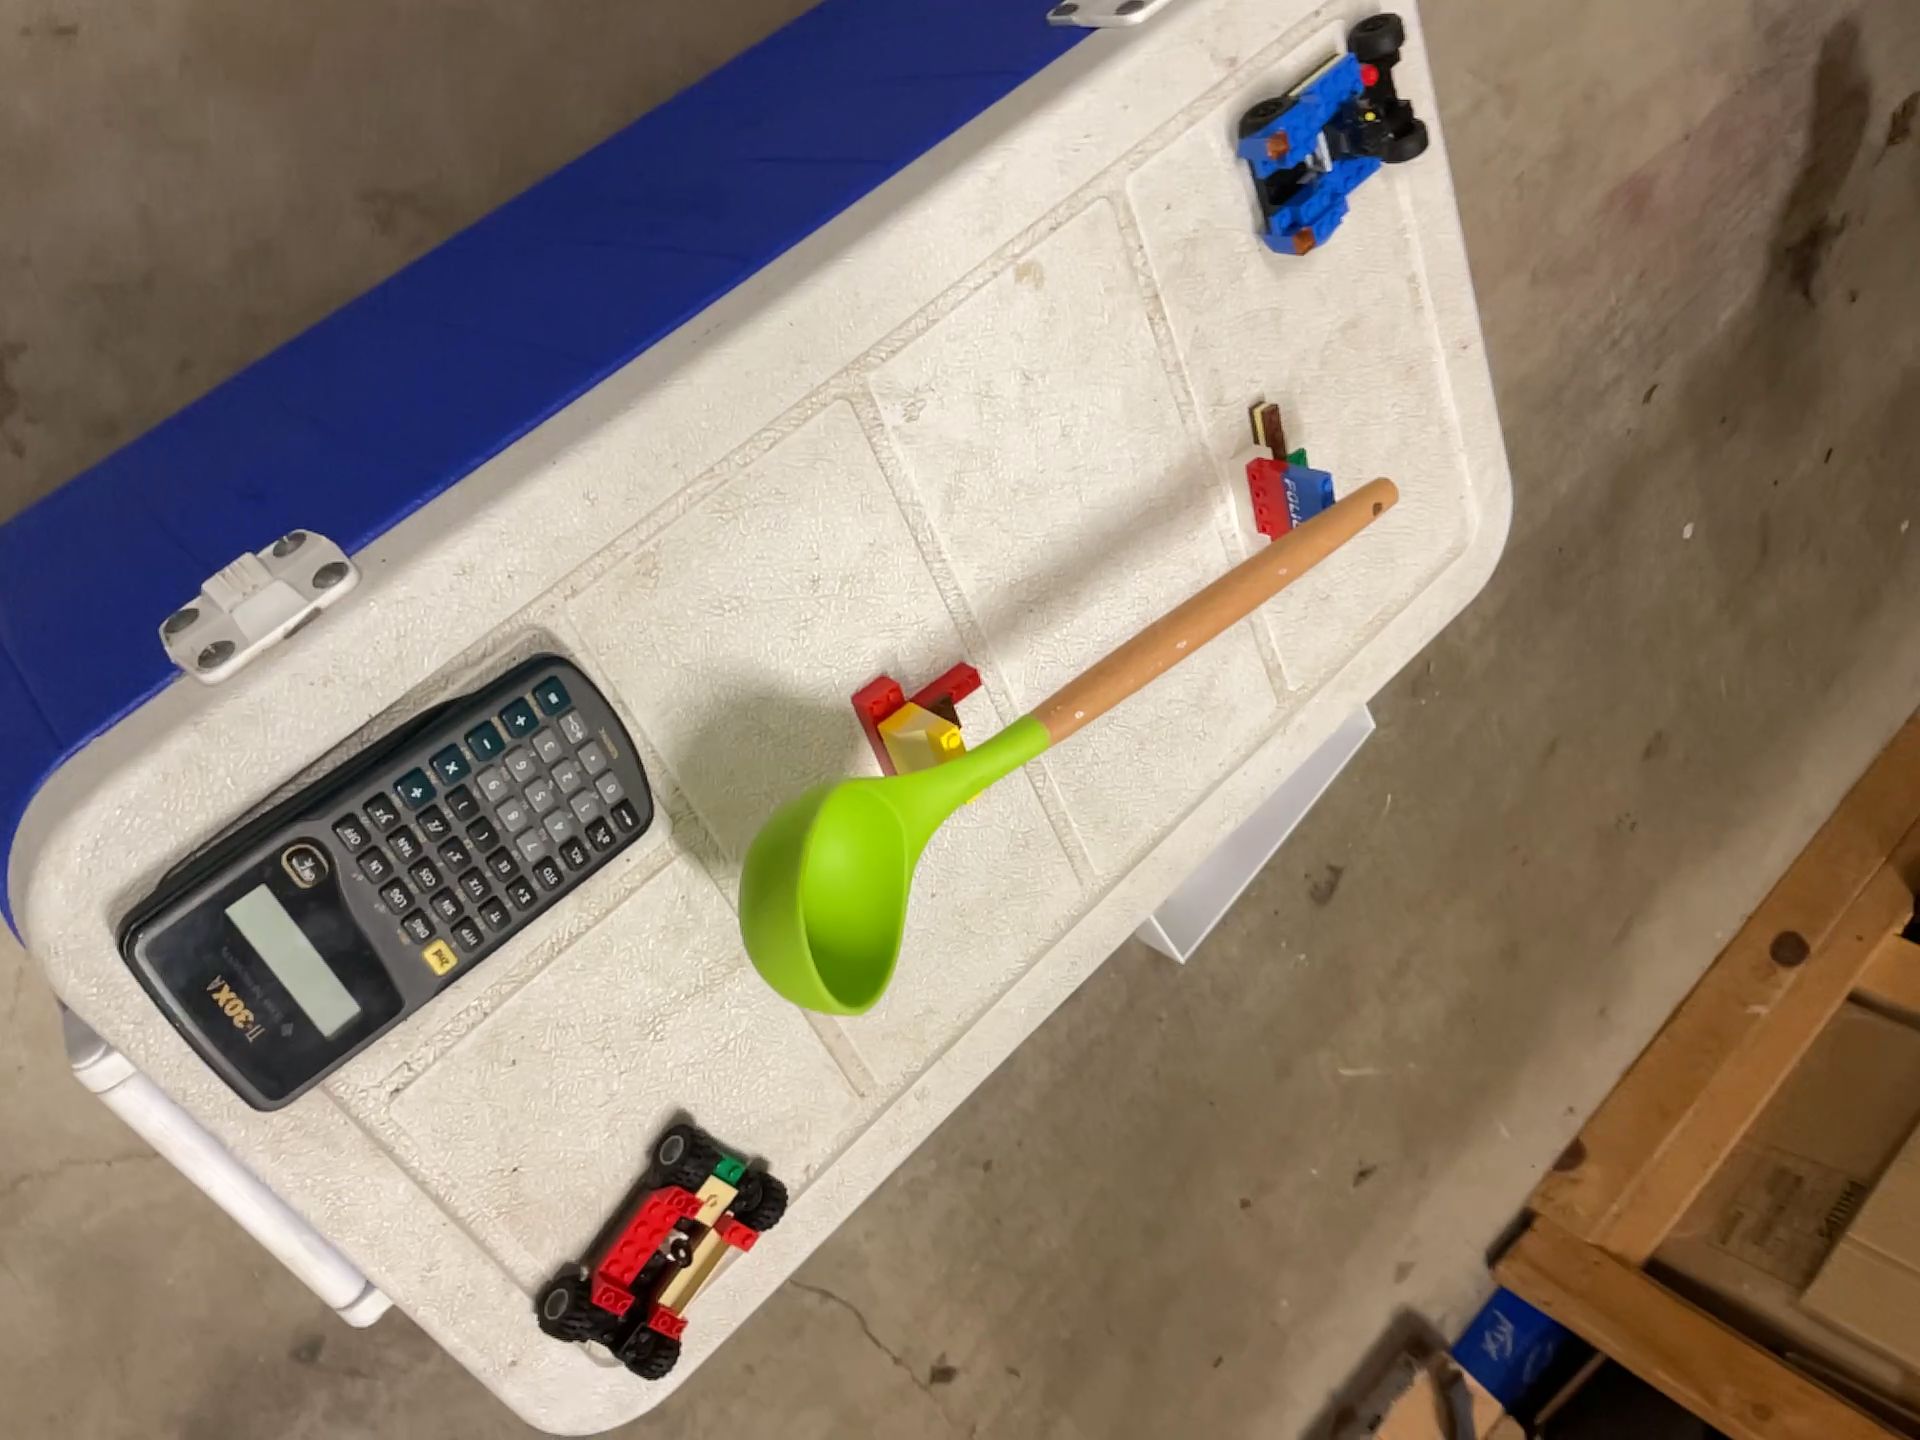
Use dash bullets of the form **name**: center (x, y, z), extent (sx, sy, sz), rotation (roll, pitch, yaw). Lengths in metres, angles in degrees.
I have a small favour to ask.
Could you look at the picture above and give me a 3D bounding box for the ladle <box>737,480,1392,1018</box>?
- **ladle**: center (0.054, -0.005, 0.575), extent (0.320, 0.062, 0.078), rotation (-34, 125, -22)
